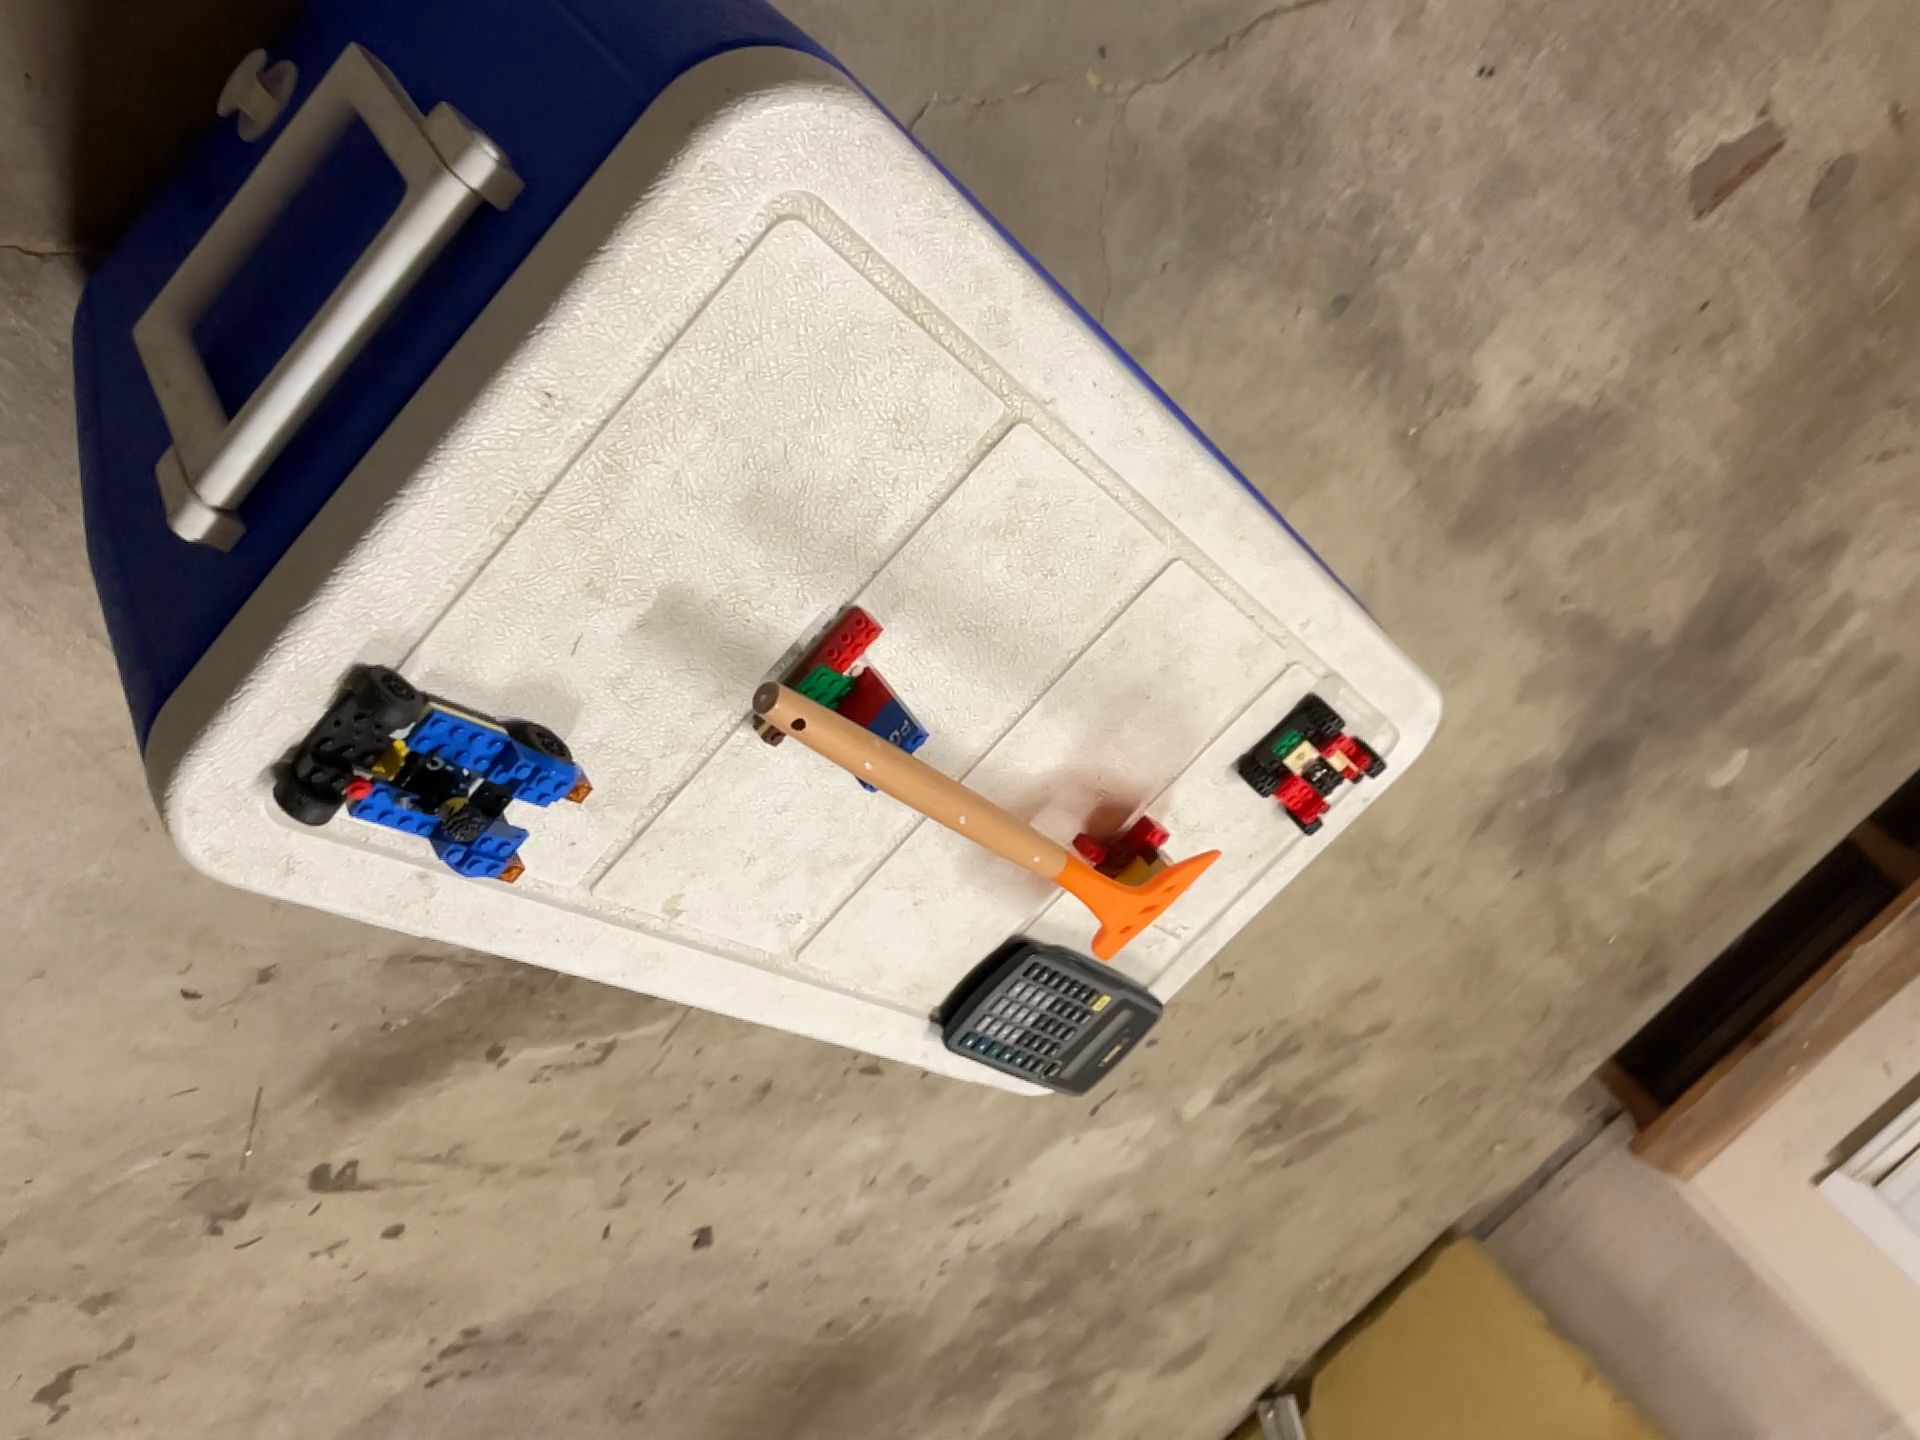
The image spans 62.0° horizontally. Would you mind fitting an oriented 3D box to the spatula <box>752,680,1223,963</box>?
[{"bbox_3d":[0.021,0.046,0.668,0.081,0.041,0.322,-45,138,11],"label":"spatula"}]
